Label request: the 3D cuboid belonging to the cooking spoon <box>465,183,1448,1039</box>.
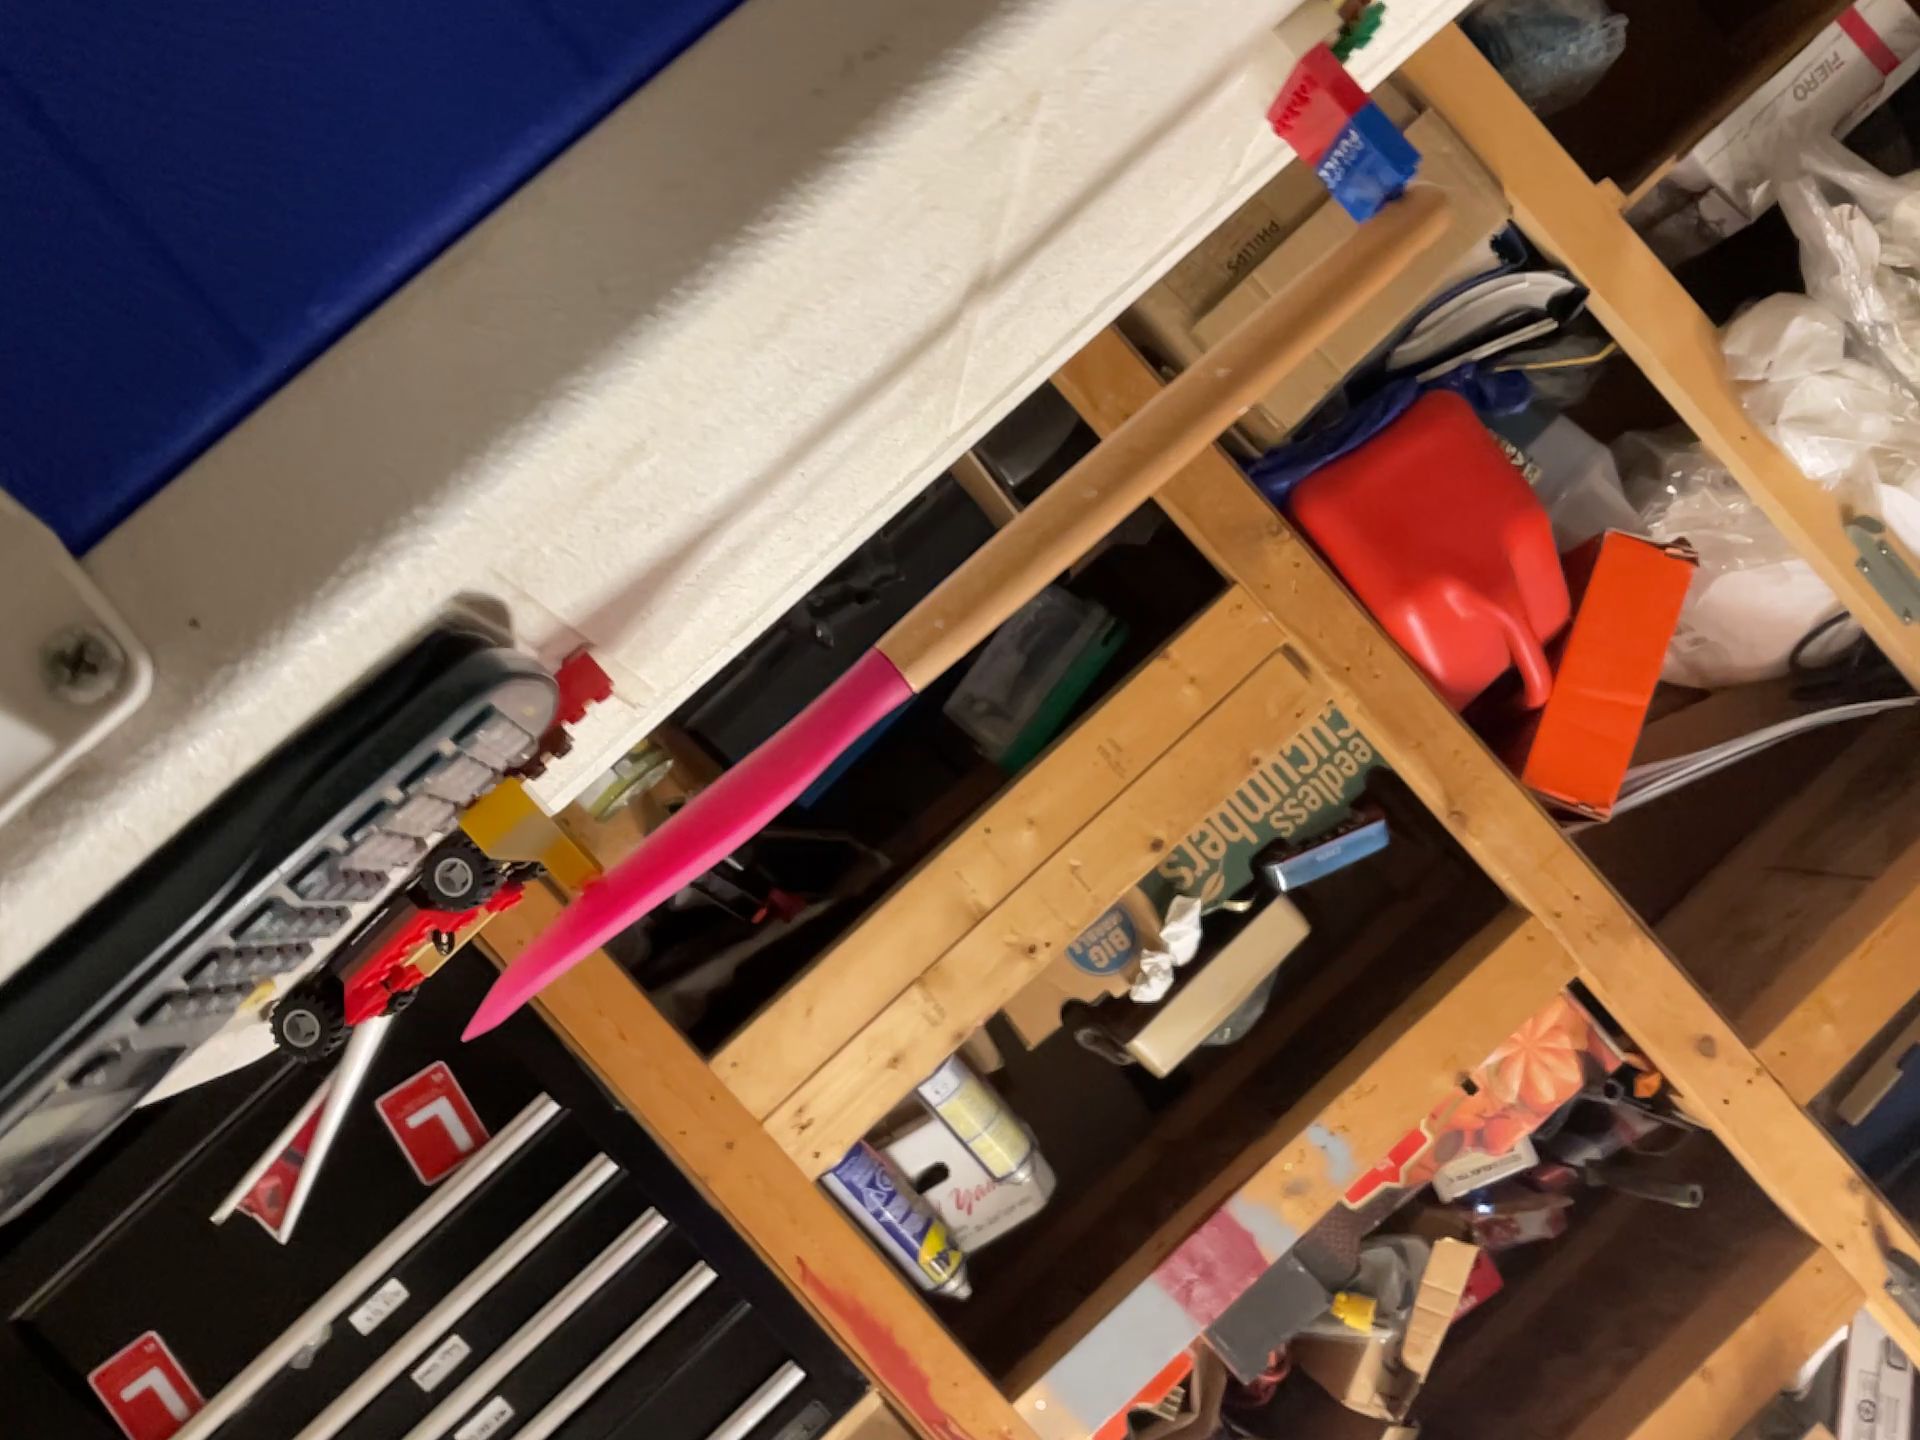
[{"bbox_3d":[0.002,-0.030,0.398,0.319,0.017,0.069,-41,180,-5],"label":"cooking spoon"}]
